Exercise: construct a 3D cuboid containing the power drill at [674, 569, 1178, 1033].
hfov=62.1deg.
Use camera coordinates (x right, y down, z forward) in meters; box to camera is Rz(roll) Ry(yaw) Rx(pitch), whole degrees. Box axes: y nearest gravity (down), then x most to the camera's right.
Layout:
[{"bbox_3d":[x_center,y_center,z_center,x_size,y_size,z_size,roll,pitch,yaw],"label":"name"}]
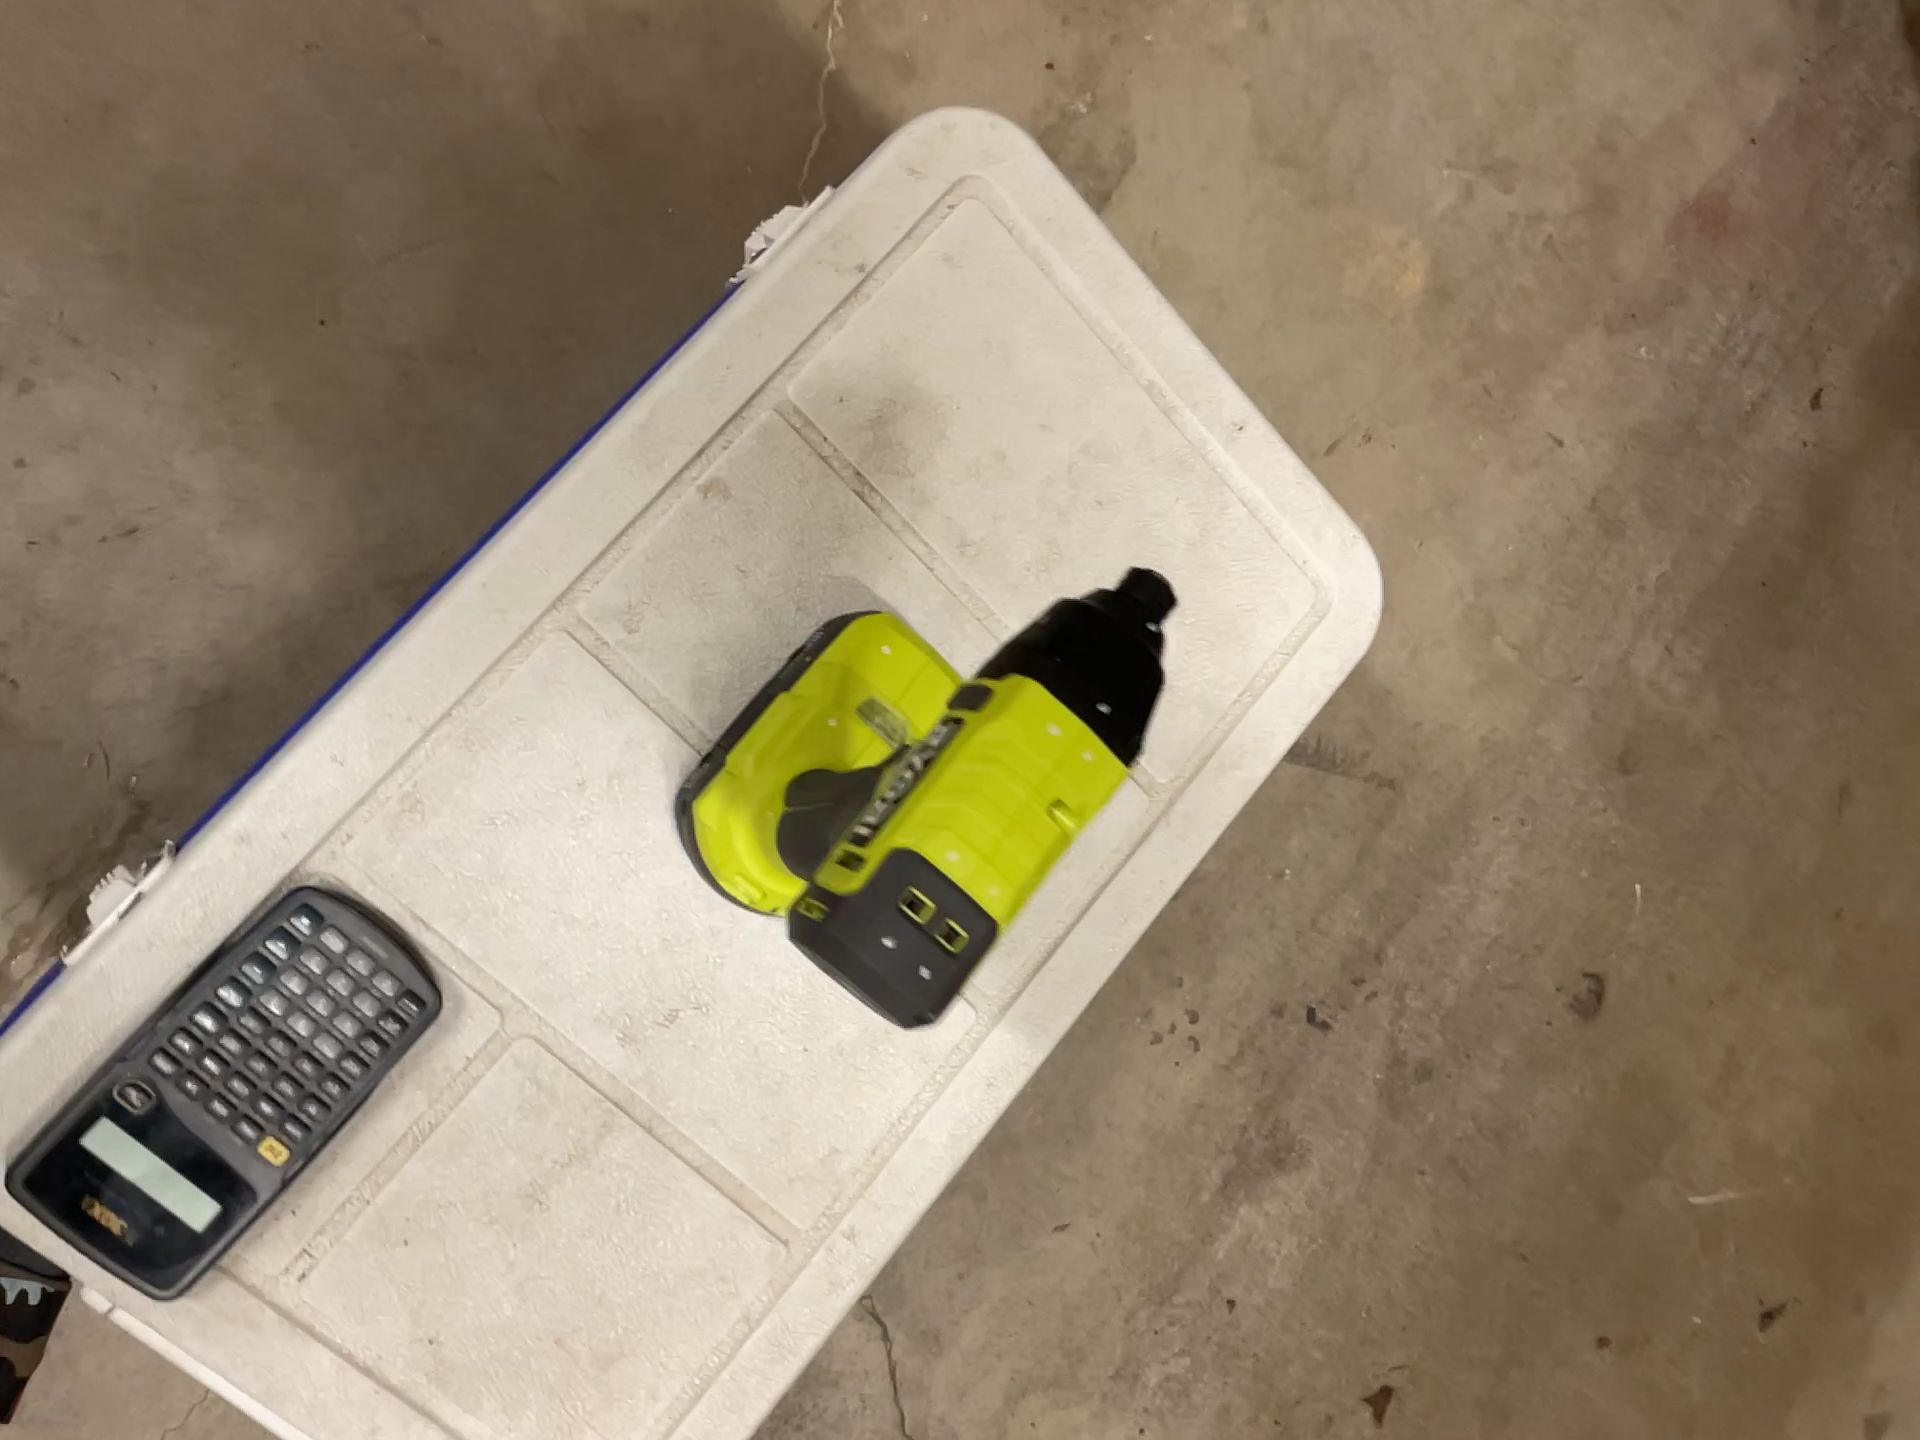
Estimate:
[{"bbox_3d":[-0.017,0.017,0.598,0.080,0.223,0.171,43,75,-19],"label":"power drill"}]
